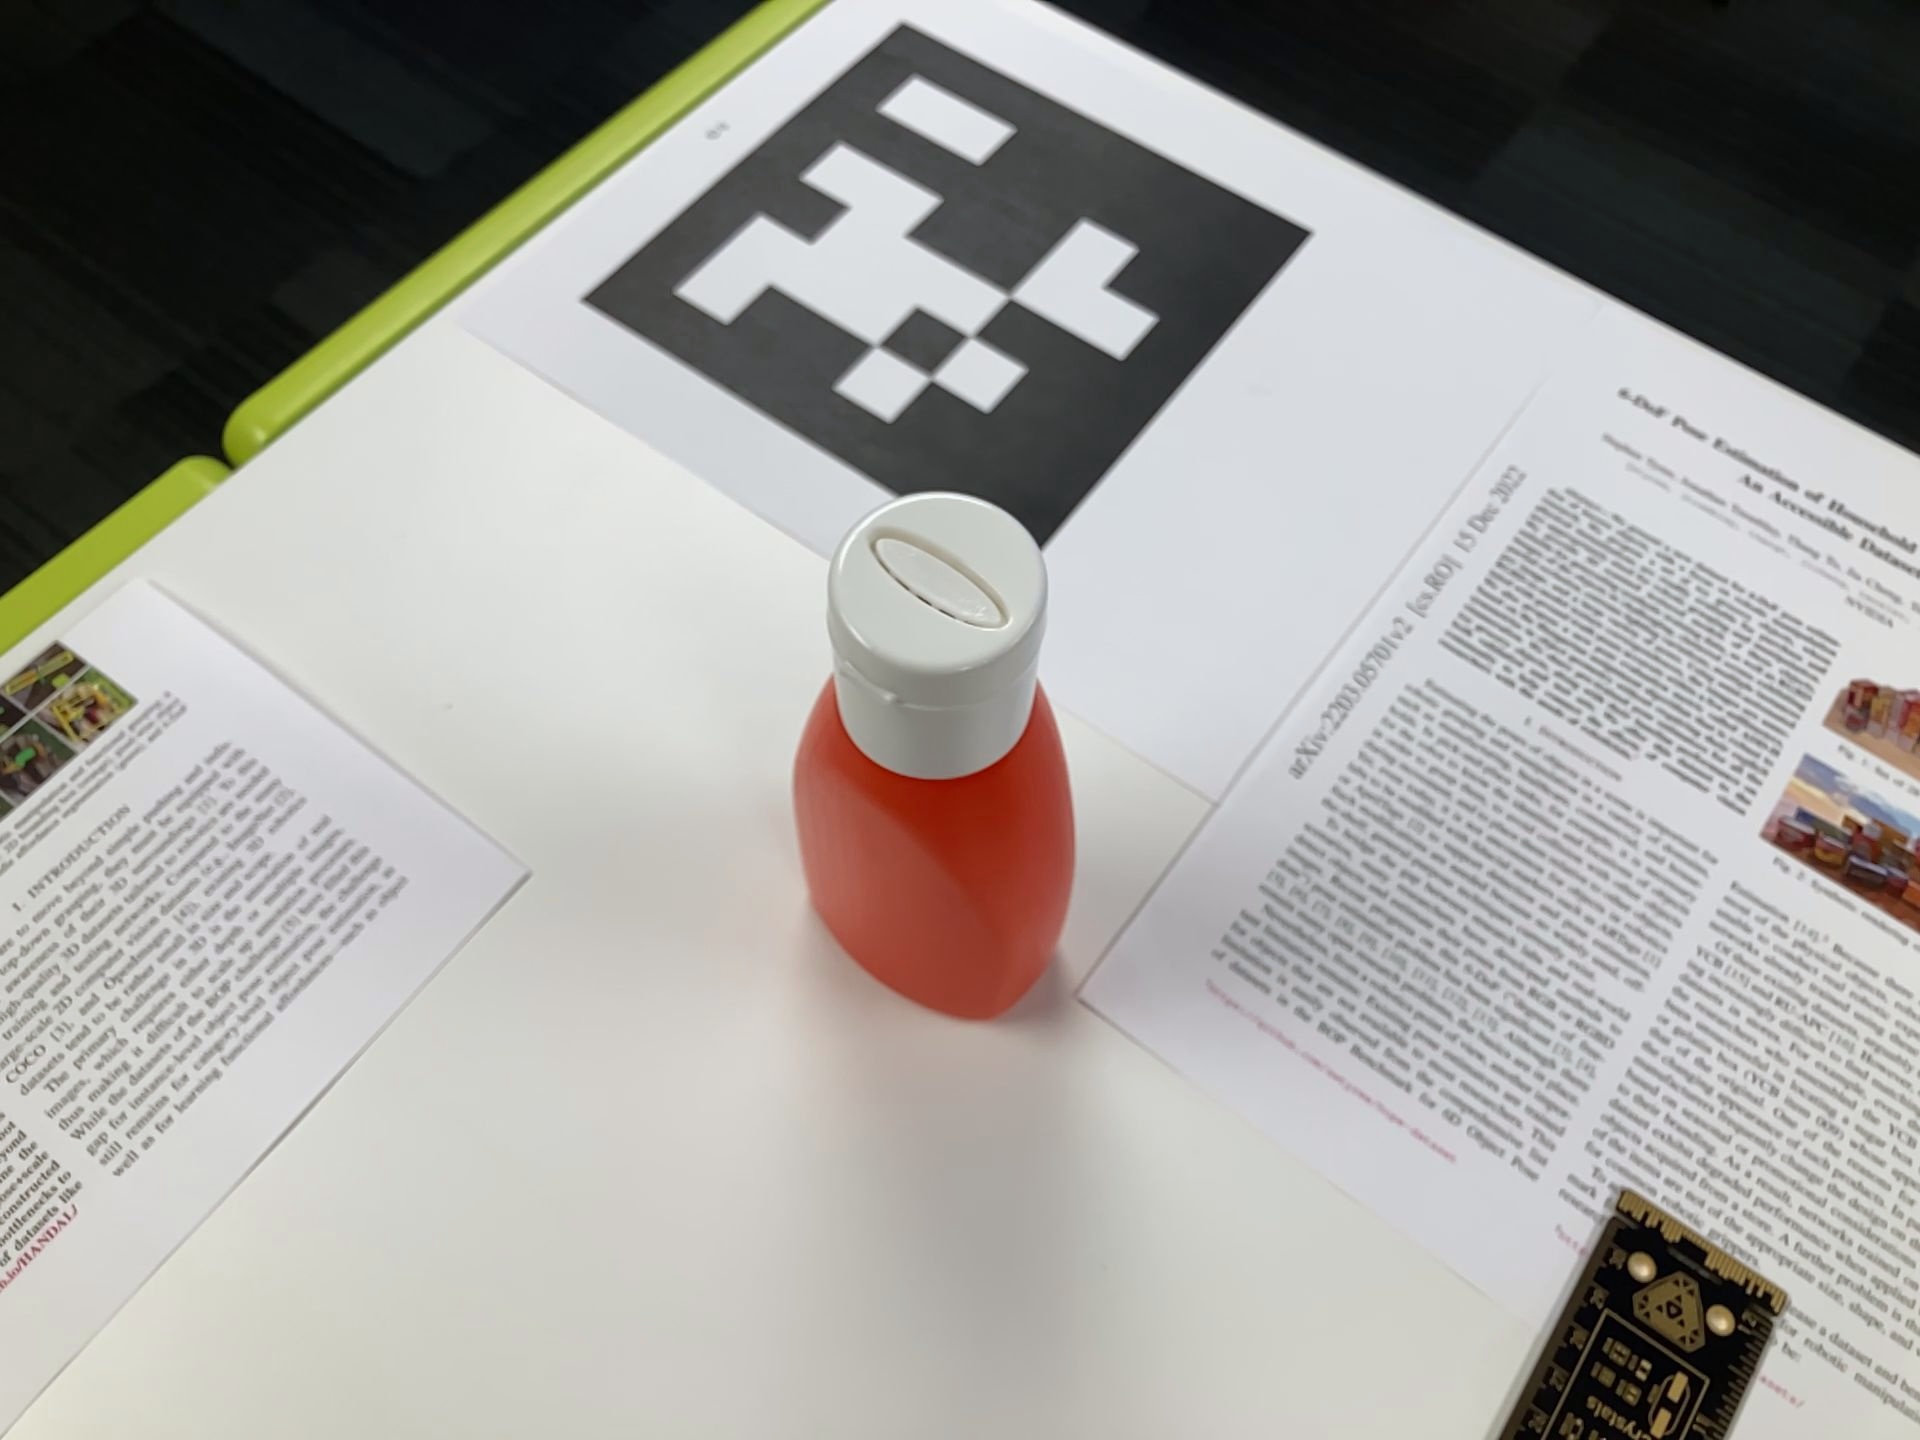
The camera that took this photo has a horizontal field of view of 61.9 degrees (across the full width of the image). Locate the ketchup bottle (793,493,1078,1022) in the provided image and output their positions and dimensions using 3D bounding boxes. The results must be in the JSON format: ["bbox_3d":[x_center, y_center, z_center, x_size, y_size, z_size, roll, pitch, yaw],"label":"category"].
[{"bbox_3d":[-0.005,0.013,0.322,0.065,0.149,0.043,35,67,16],"label":"ketchup bottle"}]
